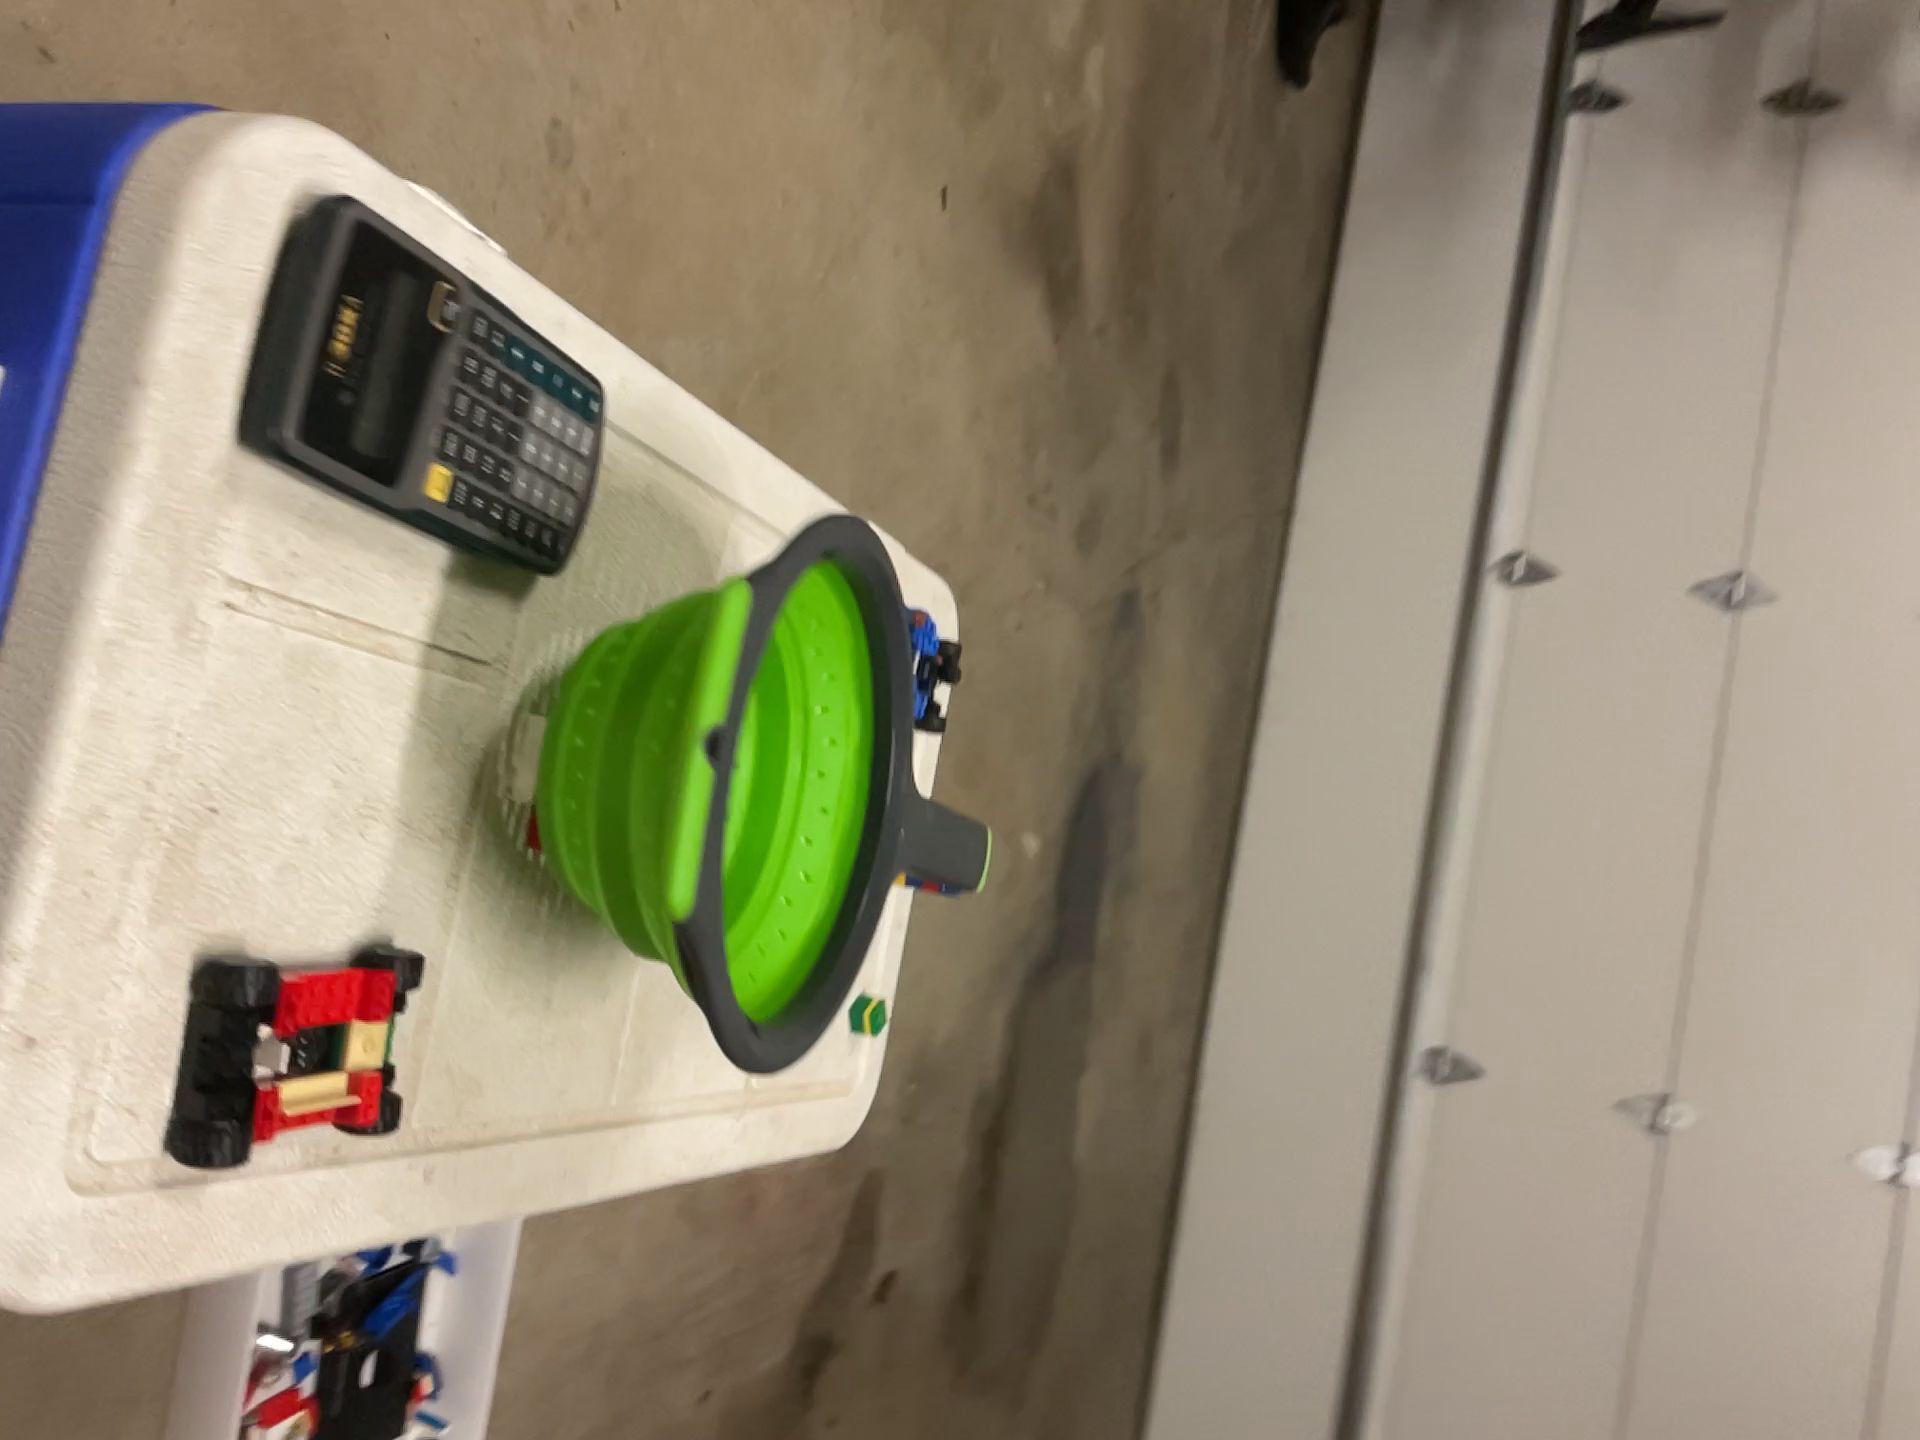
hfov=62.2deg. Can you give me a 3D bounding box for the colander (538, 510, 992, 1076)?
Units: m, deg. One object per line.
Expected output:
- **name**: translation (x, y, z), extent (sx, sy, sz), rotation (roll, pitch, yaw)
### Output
- **colander**: translation (-0.071, 0.037, 0.670), extent (0.397, 0.094, 0.204), rotation (38, 59, -72)
